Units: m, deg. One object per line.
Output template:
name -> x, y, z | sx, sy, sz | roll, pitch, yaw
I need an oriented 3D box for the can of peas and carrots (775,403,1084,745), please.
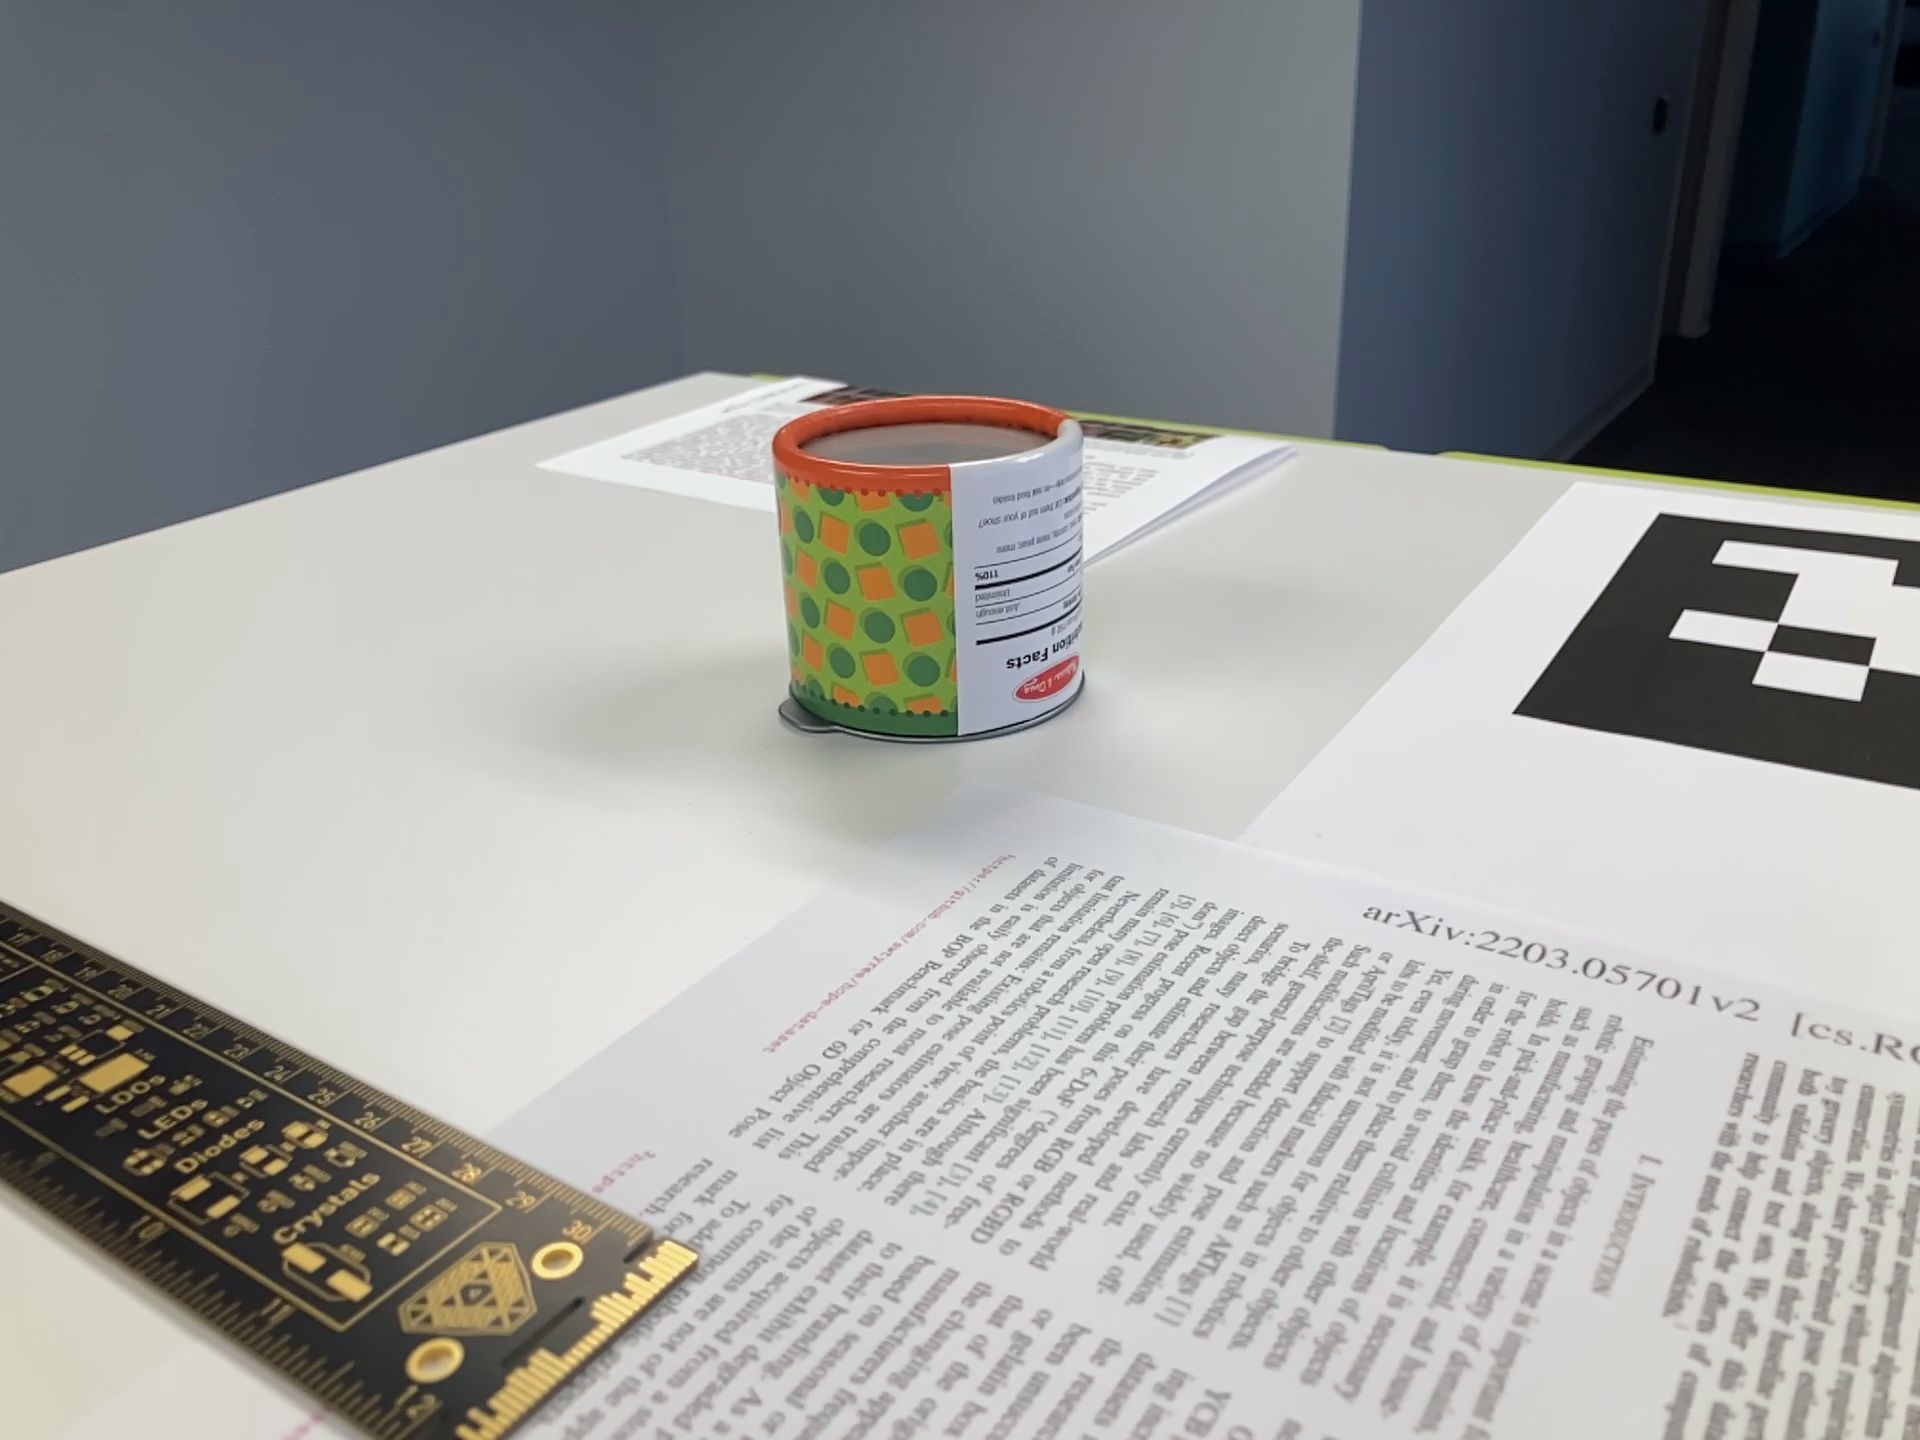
can of peas and carrots -> -0.008, -0.035, 0.349 | 0.071, 0.059, 0.071 | -1, 23, 1
